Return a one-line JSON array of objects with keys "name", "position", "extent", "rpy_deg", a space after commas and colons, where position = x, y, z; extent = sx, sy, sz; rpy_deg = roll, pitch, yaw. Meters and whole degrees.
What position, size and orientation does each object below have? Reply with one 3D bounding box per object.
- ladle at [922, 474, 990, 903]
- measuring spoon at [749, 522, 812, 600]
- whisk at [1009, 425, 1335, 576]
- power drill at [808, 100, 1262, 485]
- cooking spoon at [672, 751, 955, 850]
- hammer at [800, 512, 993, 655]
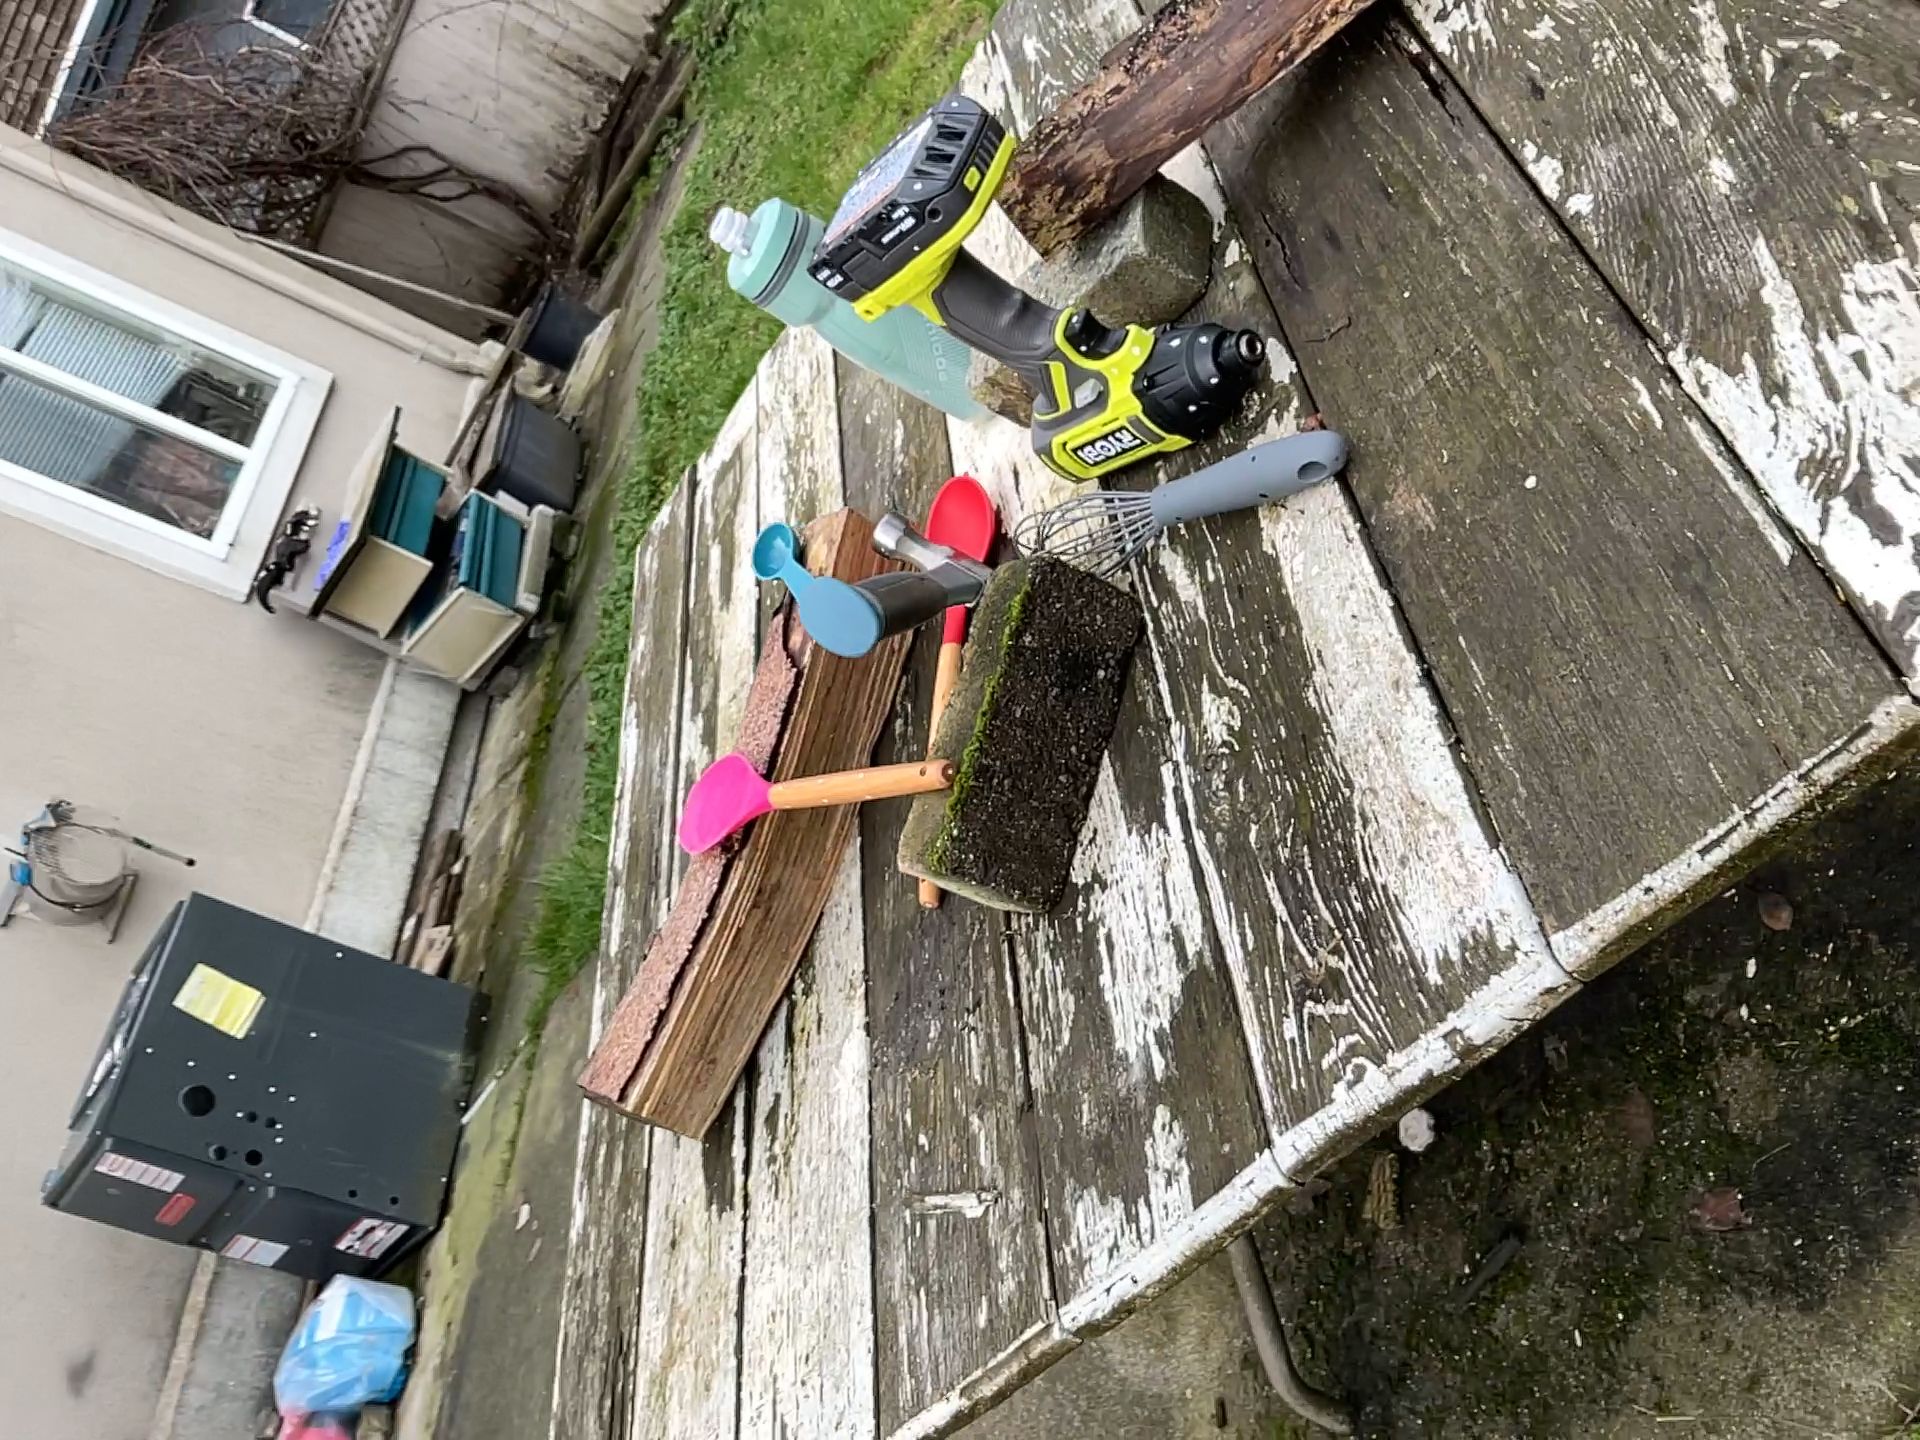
[{"name": "ladle", "position": [-0.008, -0.027, 1.029], "extent": [0.069, 0.031, 0.316], "rpy_deg": [-33, 43, 44]}, {"name": "measuring spoon", "position": [-0.103, -0.091, 1.087], "extent": [0.129, 0.021, 0.042], "rpy_deg": [46, 110, 39]}, {"name": "whisk", "position": [0.107, -0.116, 0.854], "extent": [0.239, 0.055, 0.055], "rpy_deg": [-15, 63, 54]}, {"name": "power drill", "position": [0.045, -0.226, 0.878], "extent": [0.171, 0.223, 0.080], "rpy_deg": [-15, 48, 56]}, {"name": "cooking spoon", "position": [-0.098, 0.044, 0.954], "extent": [0.319, 0.017, 0.069], "rpy_deg": [-9, 59, 55]}, {"name": "hammer", "position": [-0.023, -0.069, 0.868], "extent": [0.033, 0.128, 0.331], "rpy_deg": [-62, -6, 12]}]
